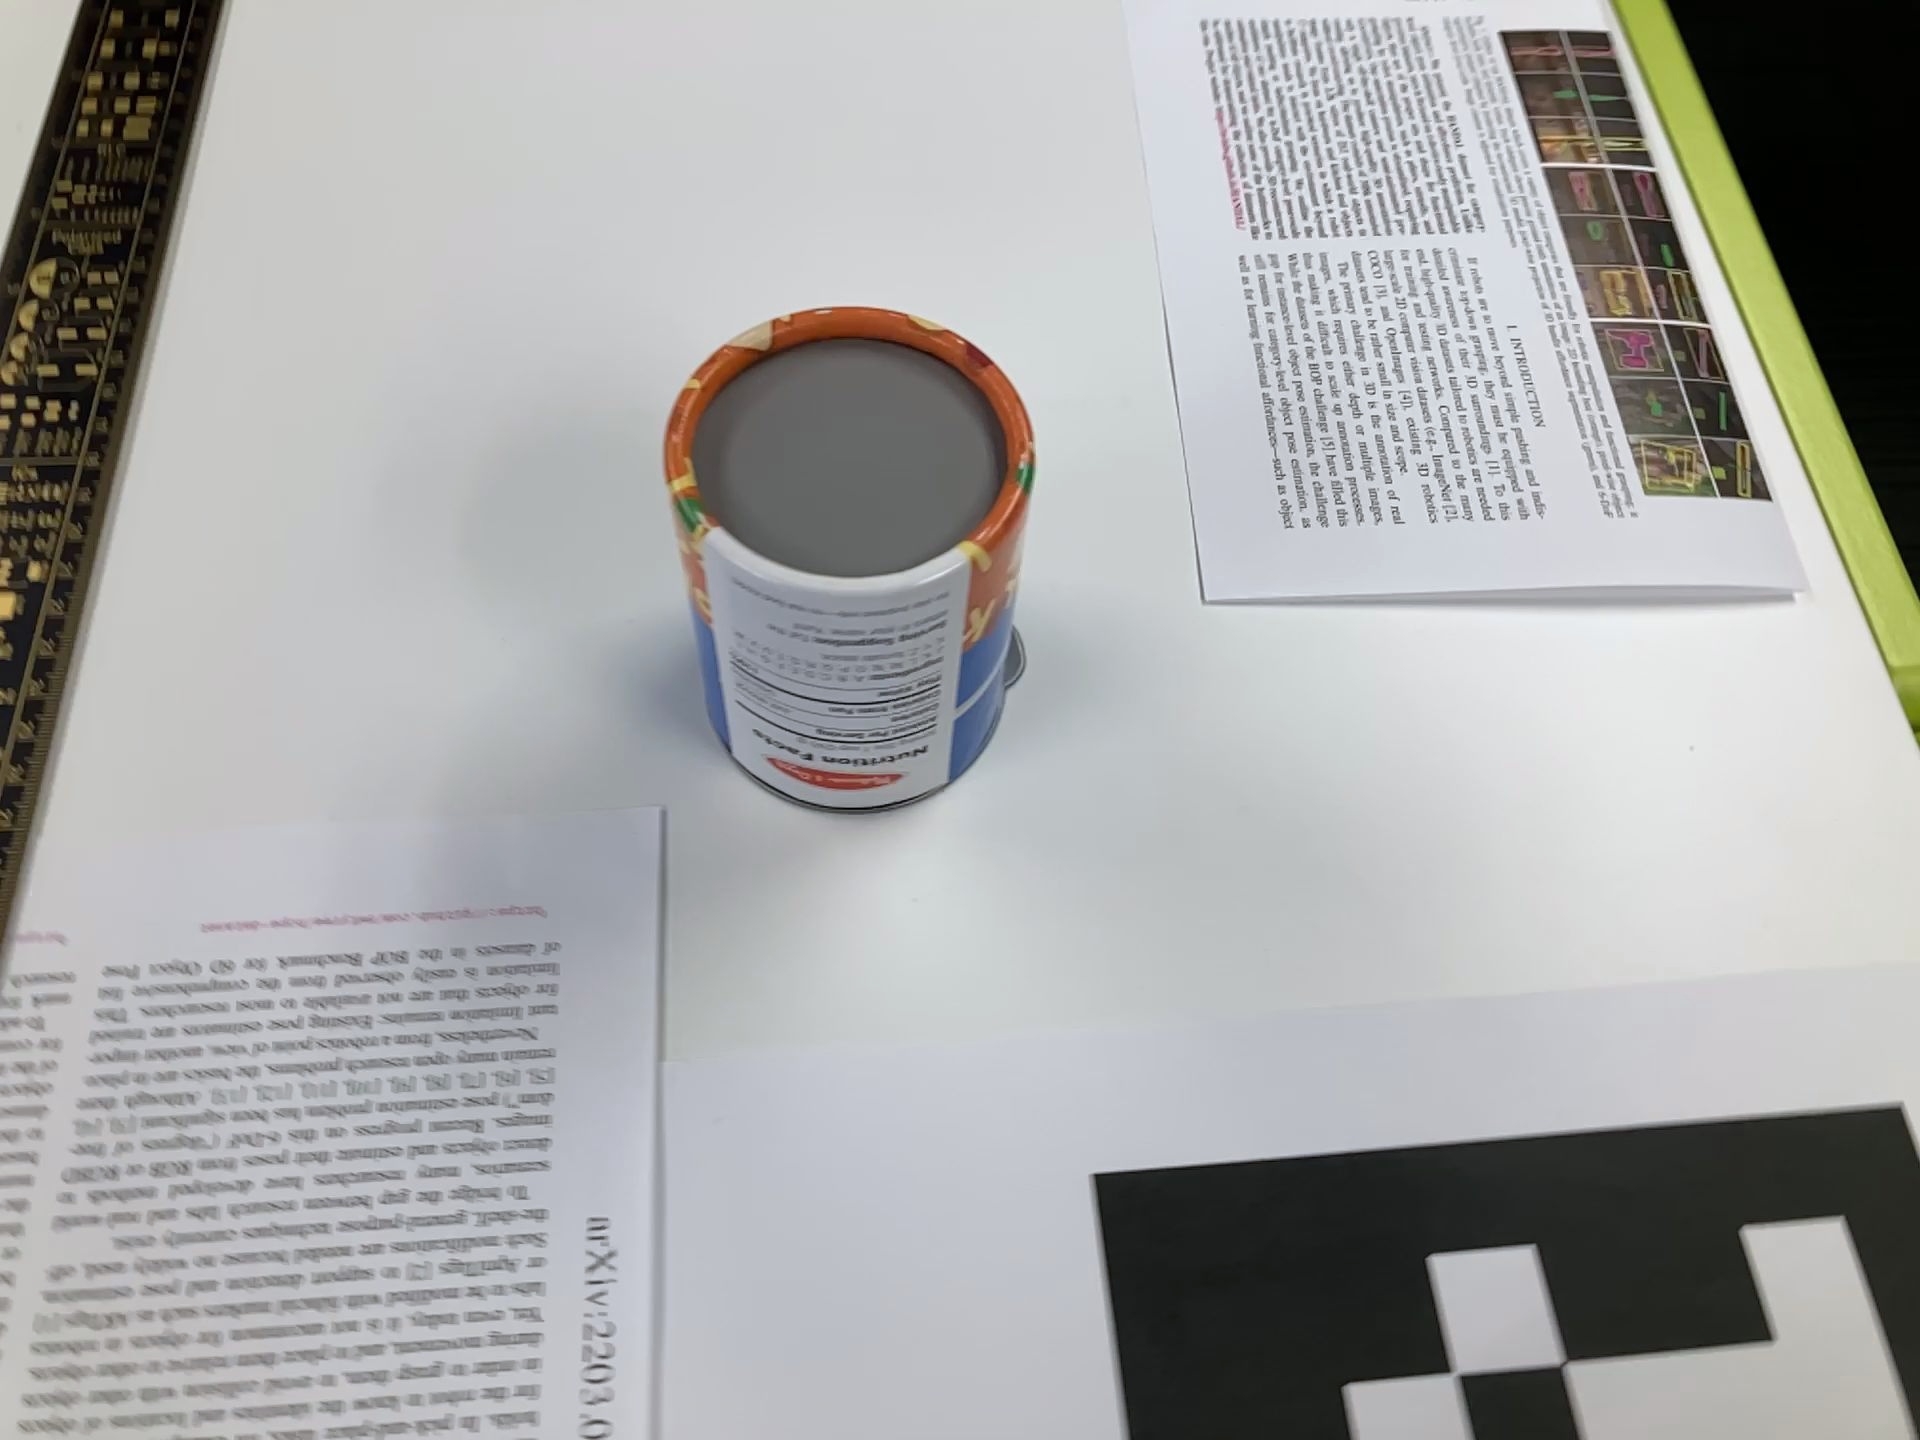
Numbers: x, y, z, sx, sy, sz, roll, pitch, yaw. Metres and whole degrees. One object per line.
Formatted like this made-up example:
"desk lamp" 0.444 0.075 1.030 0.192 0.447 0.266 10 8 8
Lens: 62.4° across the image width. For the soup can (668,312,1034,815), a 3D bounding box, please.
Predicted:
"soup can" -0.021 -0.031 0.318 0.071 0.084 0.071 2 60 -3
